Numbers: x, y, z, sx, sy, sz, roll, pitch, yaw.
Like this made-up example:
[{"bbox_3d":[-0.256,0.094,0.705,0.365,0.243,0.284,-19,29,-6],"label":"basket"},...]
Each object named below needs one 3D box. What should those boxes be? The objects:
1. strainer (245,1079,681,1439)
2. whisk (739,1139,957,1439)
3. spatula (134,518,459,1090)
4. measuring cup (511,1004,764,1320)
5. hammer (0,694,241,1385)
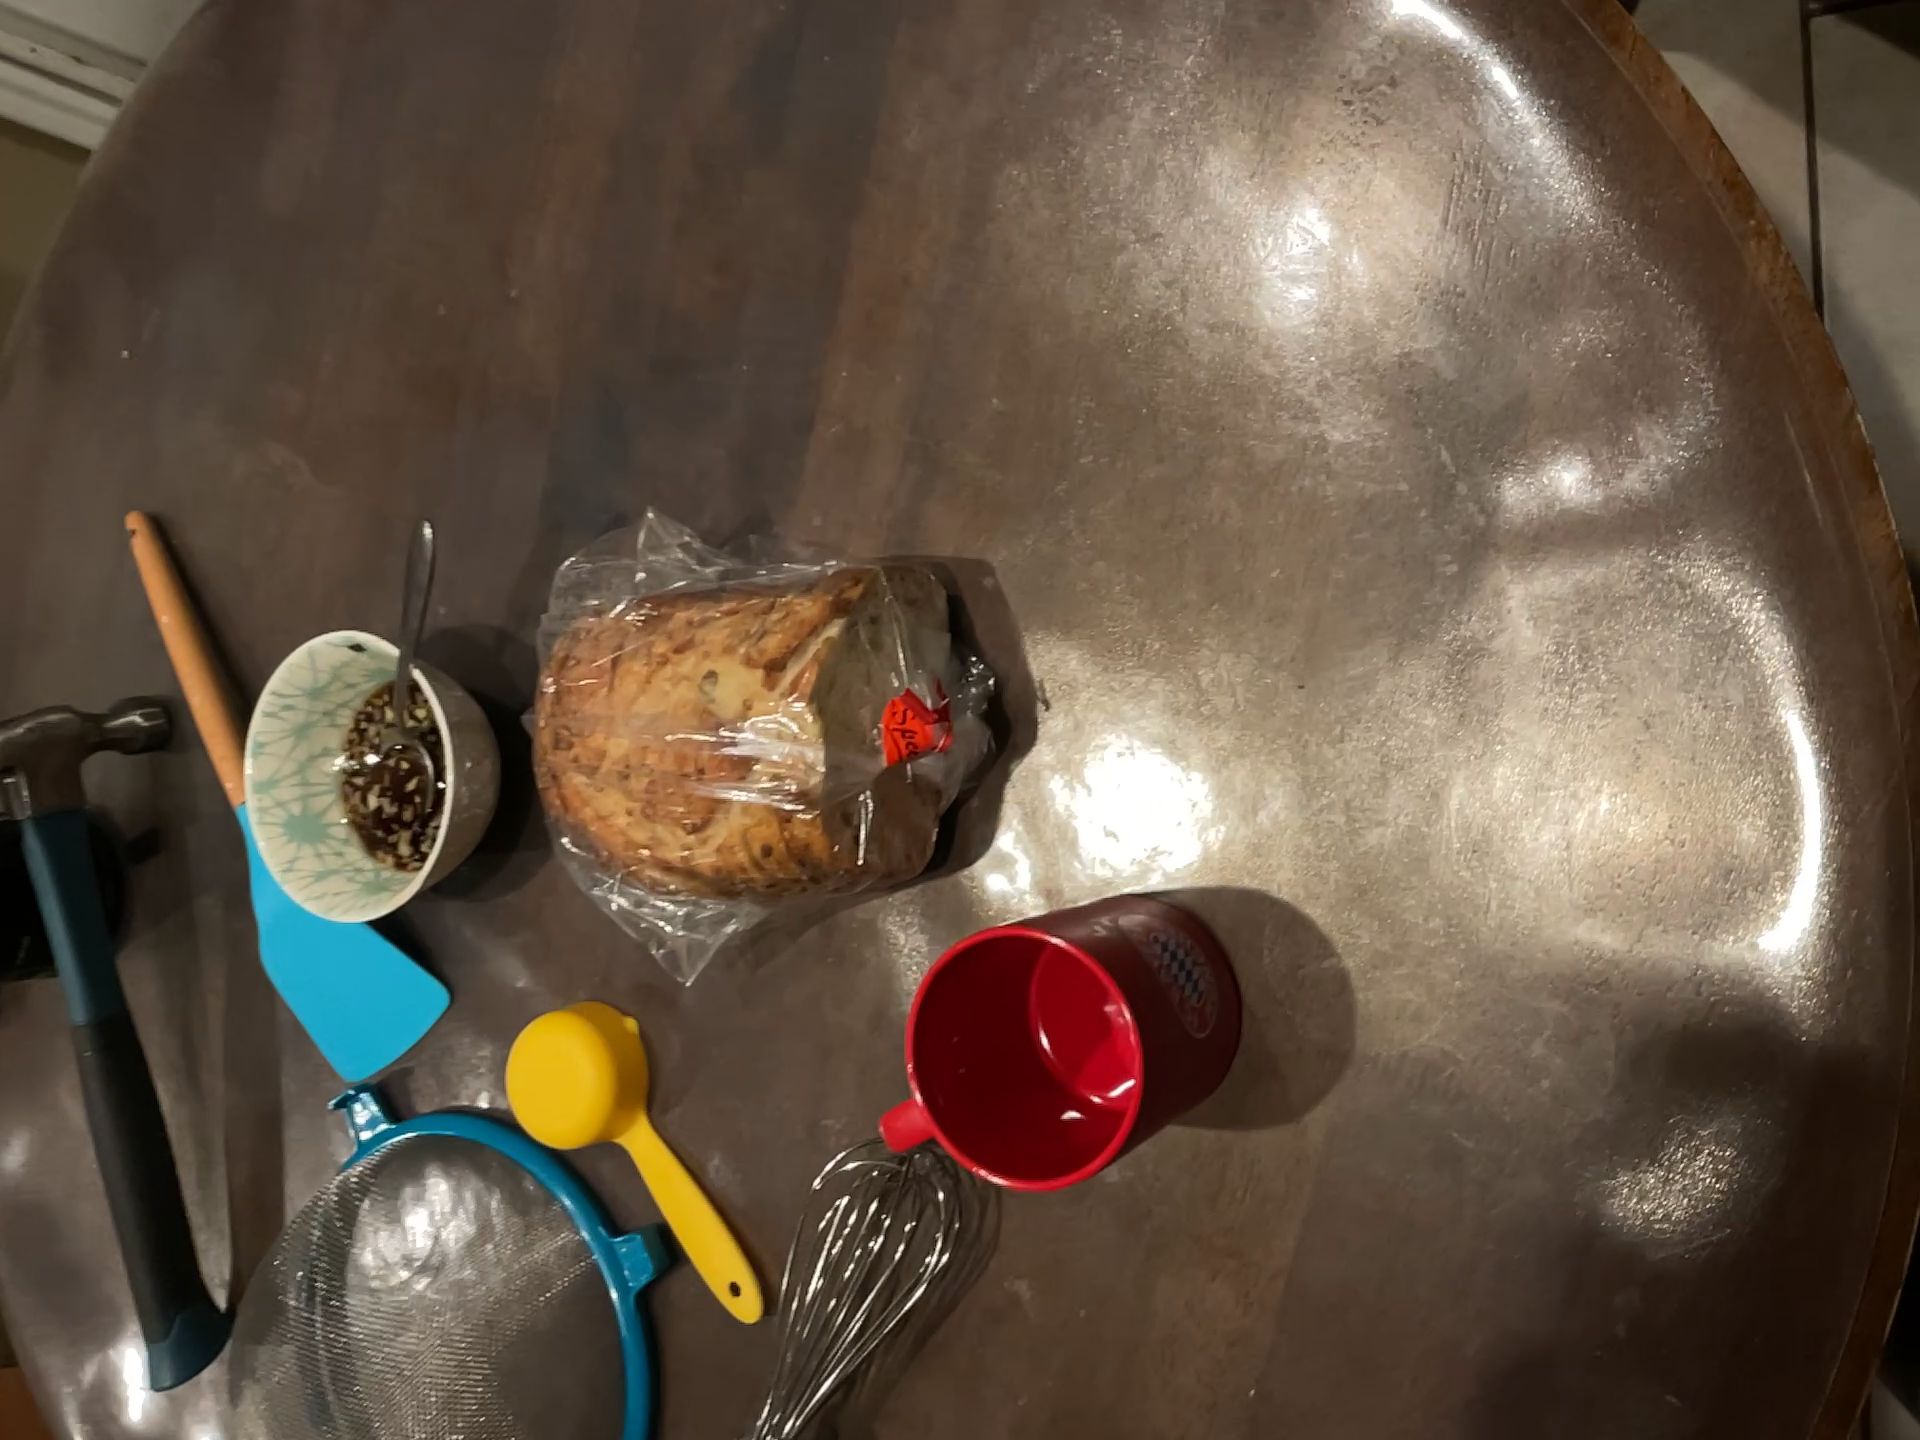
[{"bbox_3d":[-0.254,0.342,0.689,0.211,0.095,0.340,16,93,28],"label":"strainer"},{"bbox_3d":[-0.070,0.268,0.600,0.059,0.058,0.246,25,93,-5],"label":"whisk"},{"bbox_3d":[-0.340,0.027,0.781,0.082,0.044,0.318,-40,68,23],"label":"spatula"},{"bbox_3d":[-0.134,0.185,0.662,0.156,0.029,0.062,48,110,22],"label":"measuring cup"},{"bbox_3d":[-0.411,0.156,0.781,0.033,0.128,0.331,-13,92,30],"label":"hammer"}]
